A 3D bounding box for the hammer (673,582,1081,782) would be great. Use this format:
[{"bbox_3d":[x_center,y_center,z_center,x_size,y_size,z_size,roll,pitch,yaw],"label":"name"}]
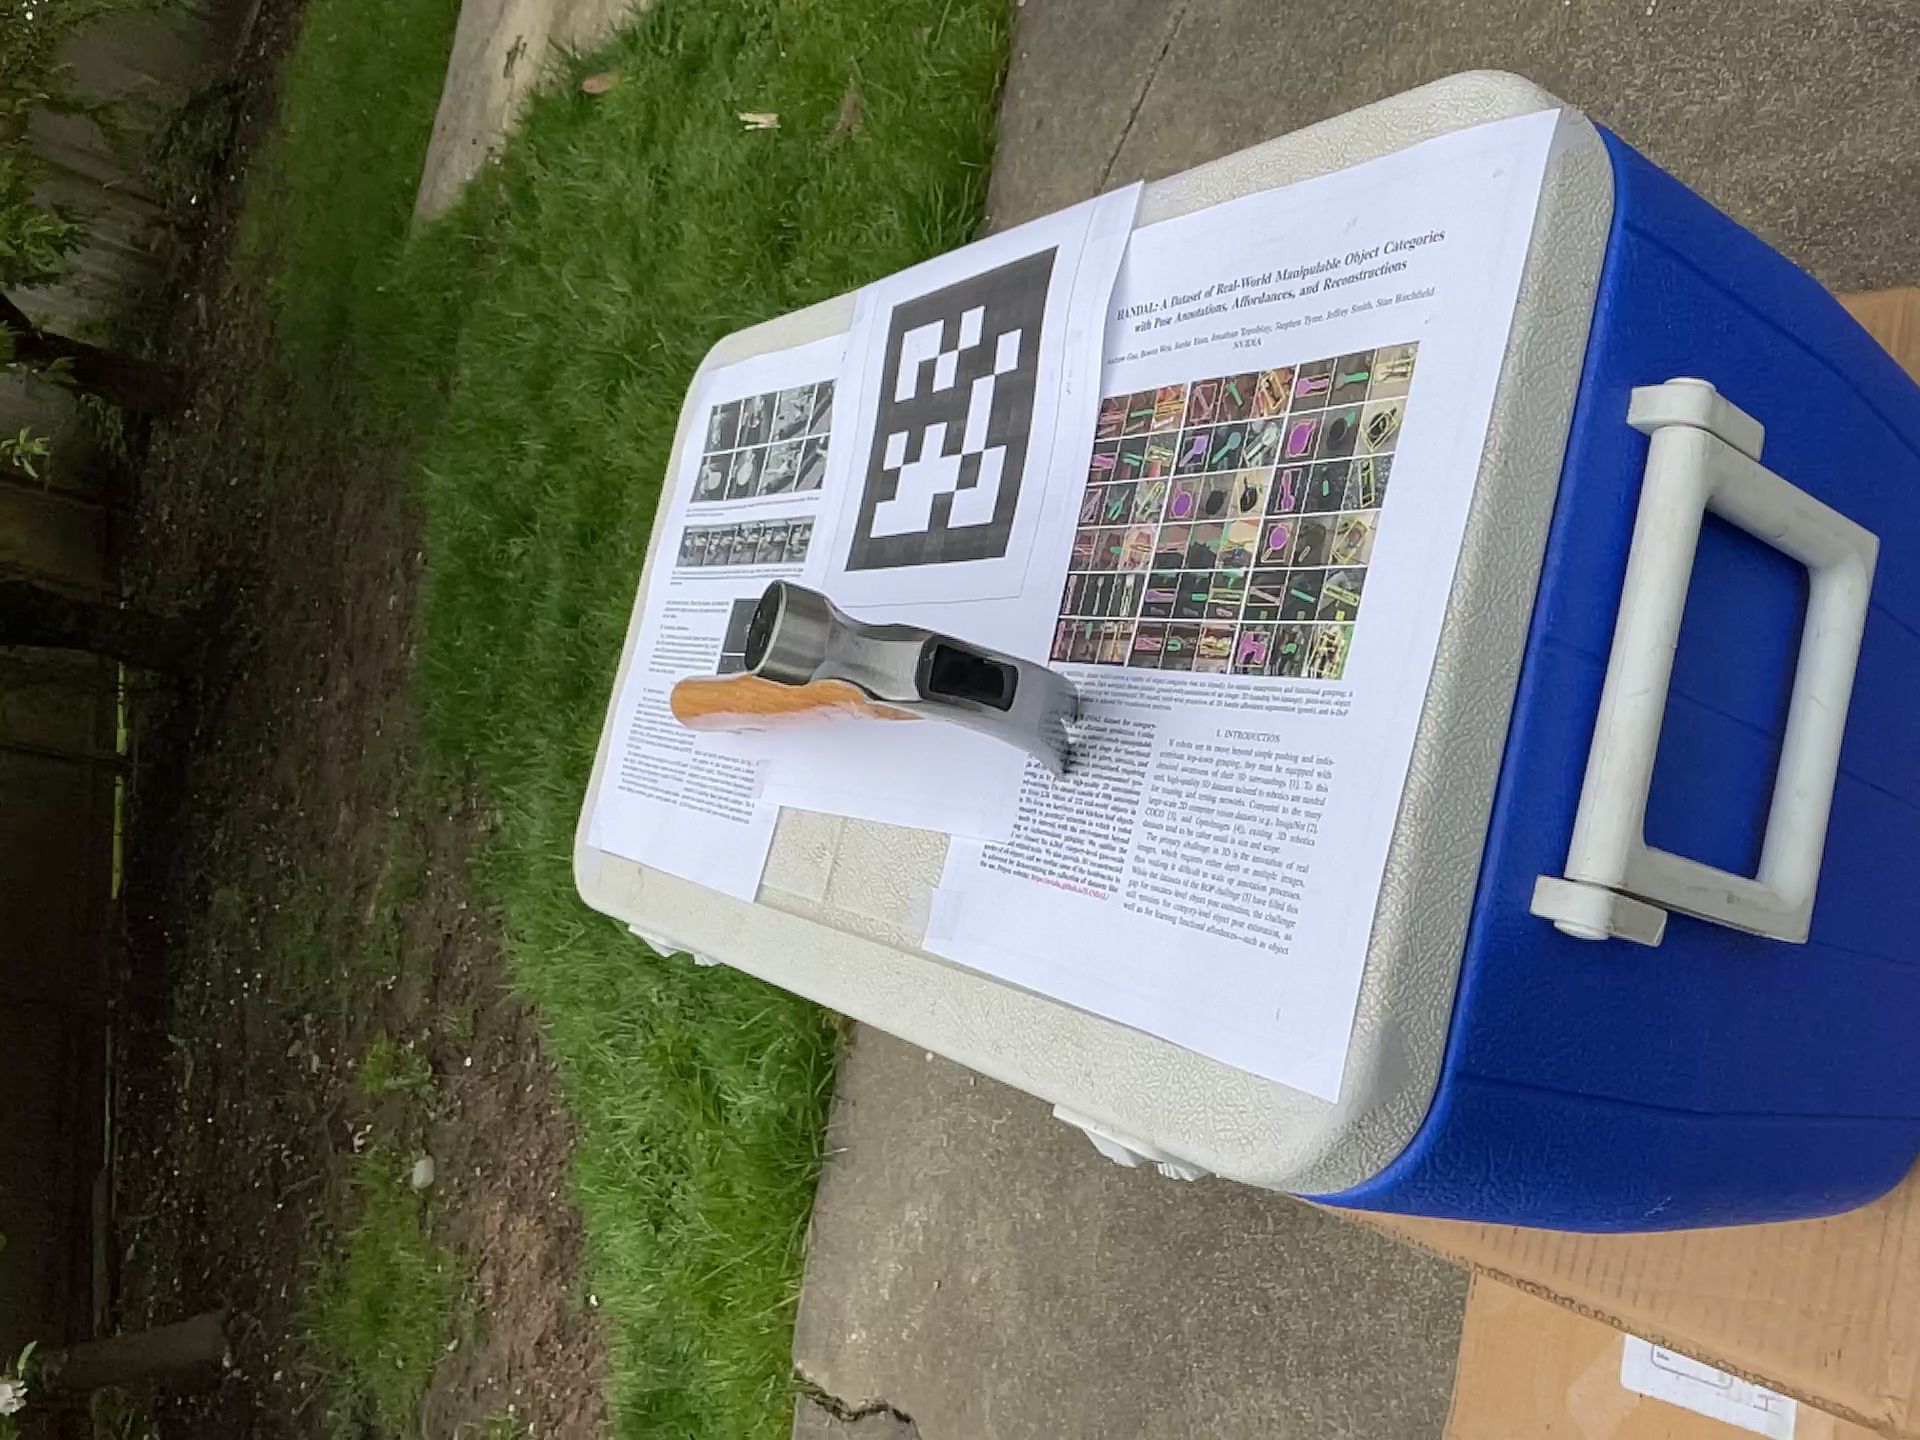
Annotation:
[{"bbox_3d":[-0.059,-0.009,0.642,0.331,0.130,0.031,-2,73,67],"label":"hammer"}]
